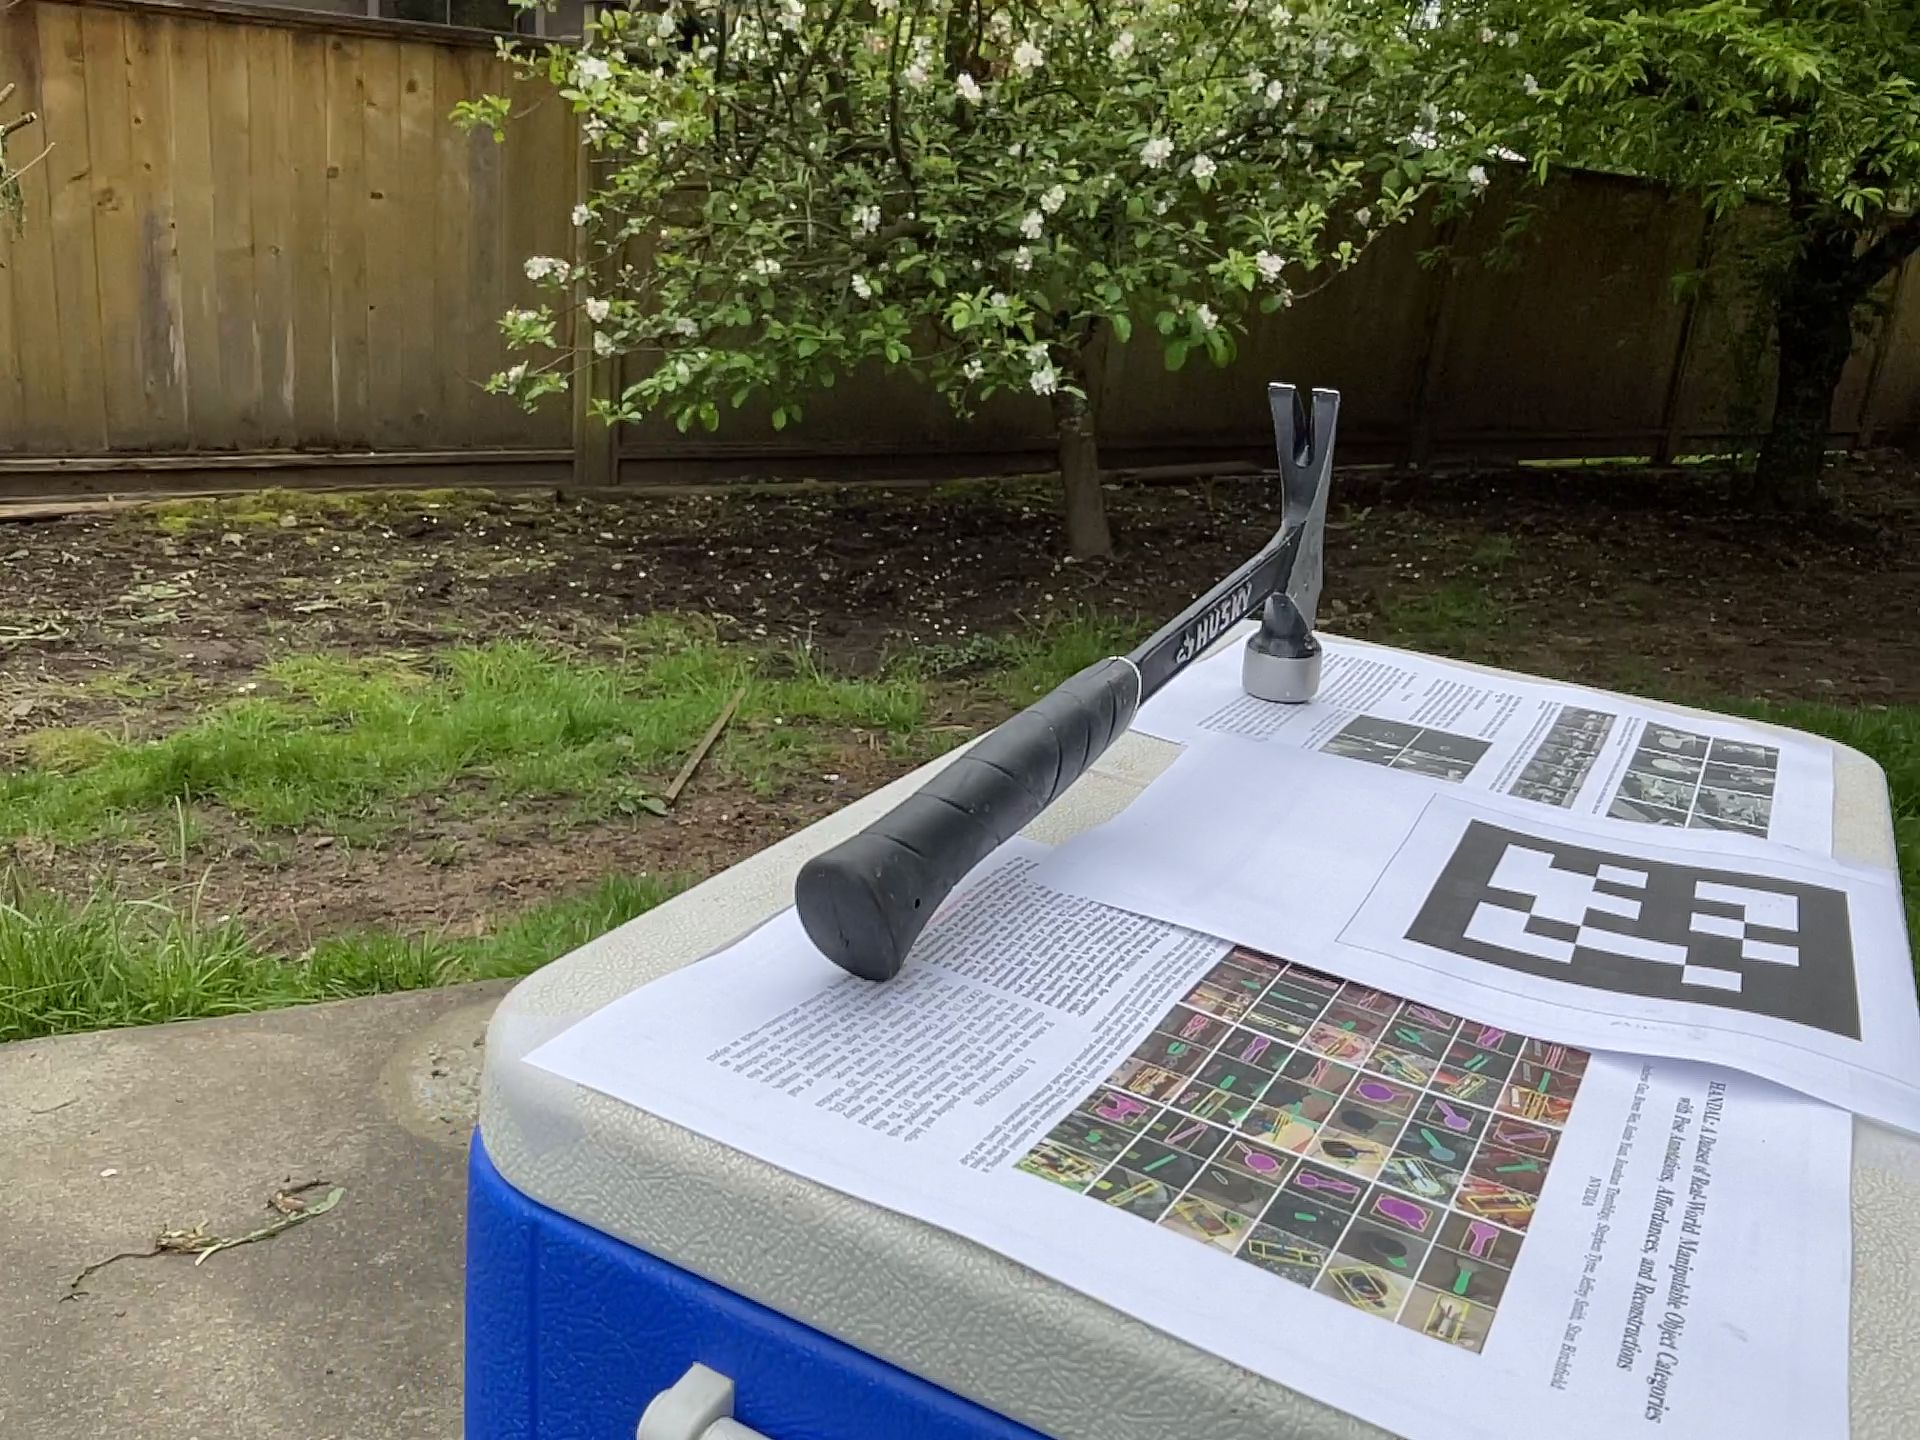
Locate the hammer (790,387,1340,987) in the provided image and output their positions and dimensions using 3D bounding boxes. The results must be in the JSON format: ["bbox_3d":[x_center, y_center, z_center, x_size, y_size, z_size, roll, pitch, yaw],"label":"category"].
[{"bbox_3d":[0.064,-0.017,0.578,0.036,0.149,0.409,13,26,26],"label":"hammer"}]
